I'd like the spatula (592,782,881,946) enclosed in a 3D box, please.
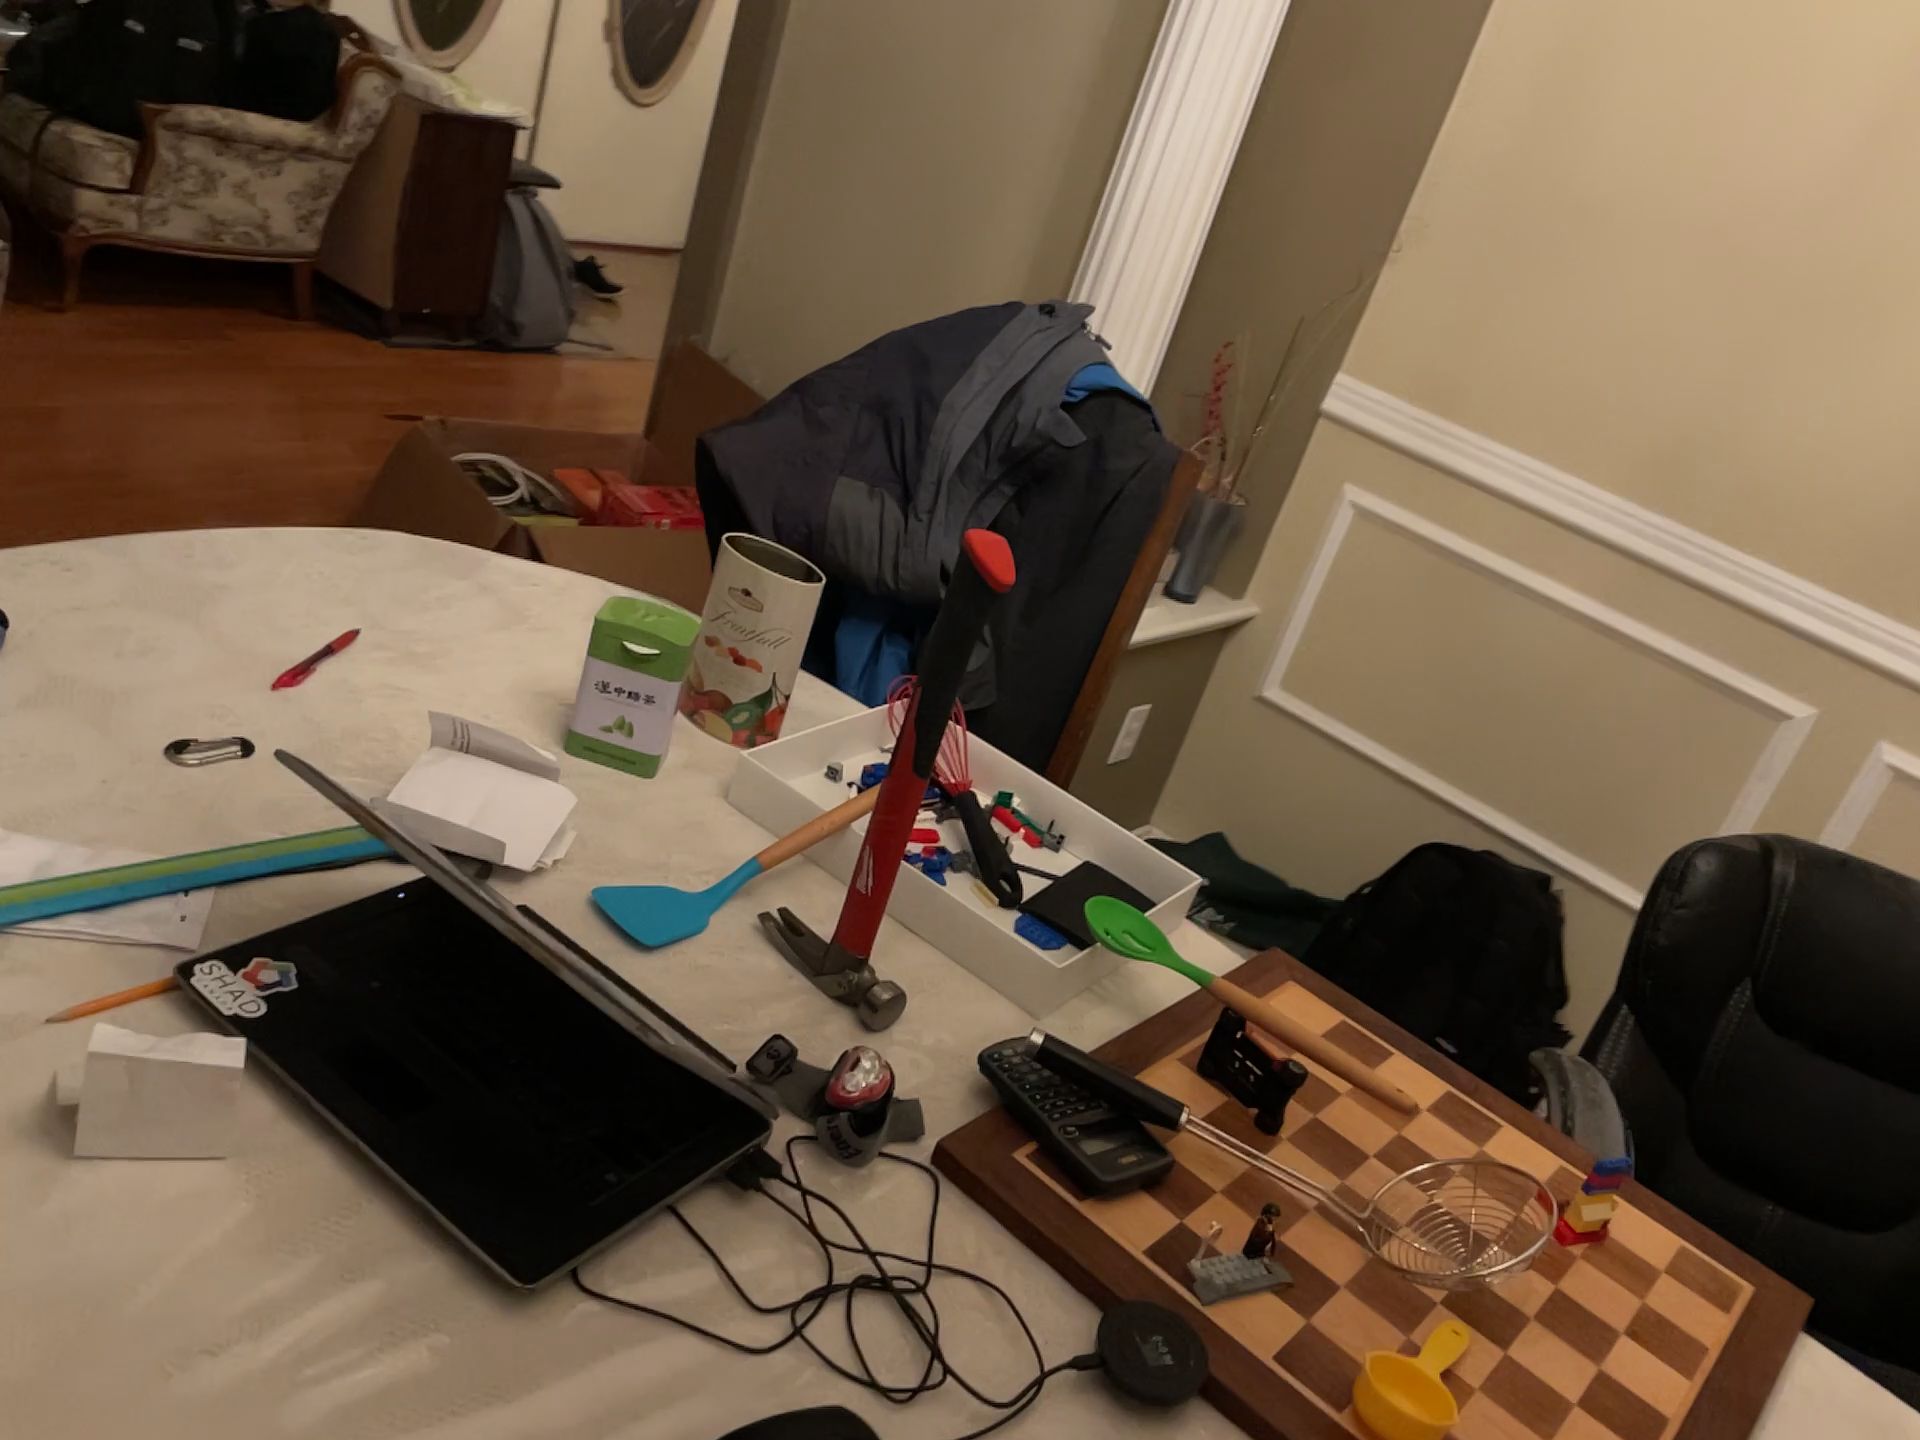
[{"bbox_3d":[-0.145,0.100,1.300,0.317,0.044,0.082,-30,48,-32],"label":"spatula"}]

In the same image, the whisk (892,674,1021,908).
[{"bbox_3d":[-0.002,0.060,1.495,0.073,0.073,0.296,-10,48,-17],"label":"whisk"}]

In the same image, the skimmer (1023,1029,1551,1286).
[{"bbox_3d":[0.223,0.285,1.111,0.363,0.090,0.127,26,27,6],"label":"skimmer"}]

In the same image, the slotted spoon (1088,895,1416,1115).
[{"bbox_3d":[0.214,0.216,1.219,0.070,0.031,0.314,-3,23,-43],"label":"slotted spoon"}]

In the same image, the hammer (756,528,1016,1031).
[{"bbox_3d":[-0.050,0.035,1.156,0.143,0.386,0.038,35,29,31],"label":"hammer"}]

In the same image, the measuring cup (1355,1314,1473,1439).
[{"bbox_3d":[0.293,0.410,1.003,0.062,0.029,0.156,30,14,30],"label":"measuring cup"}]
